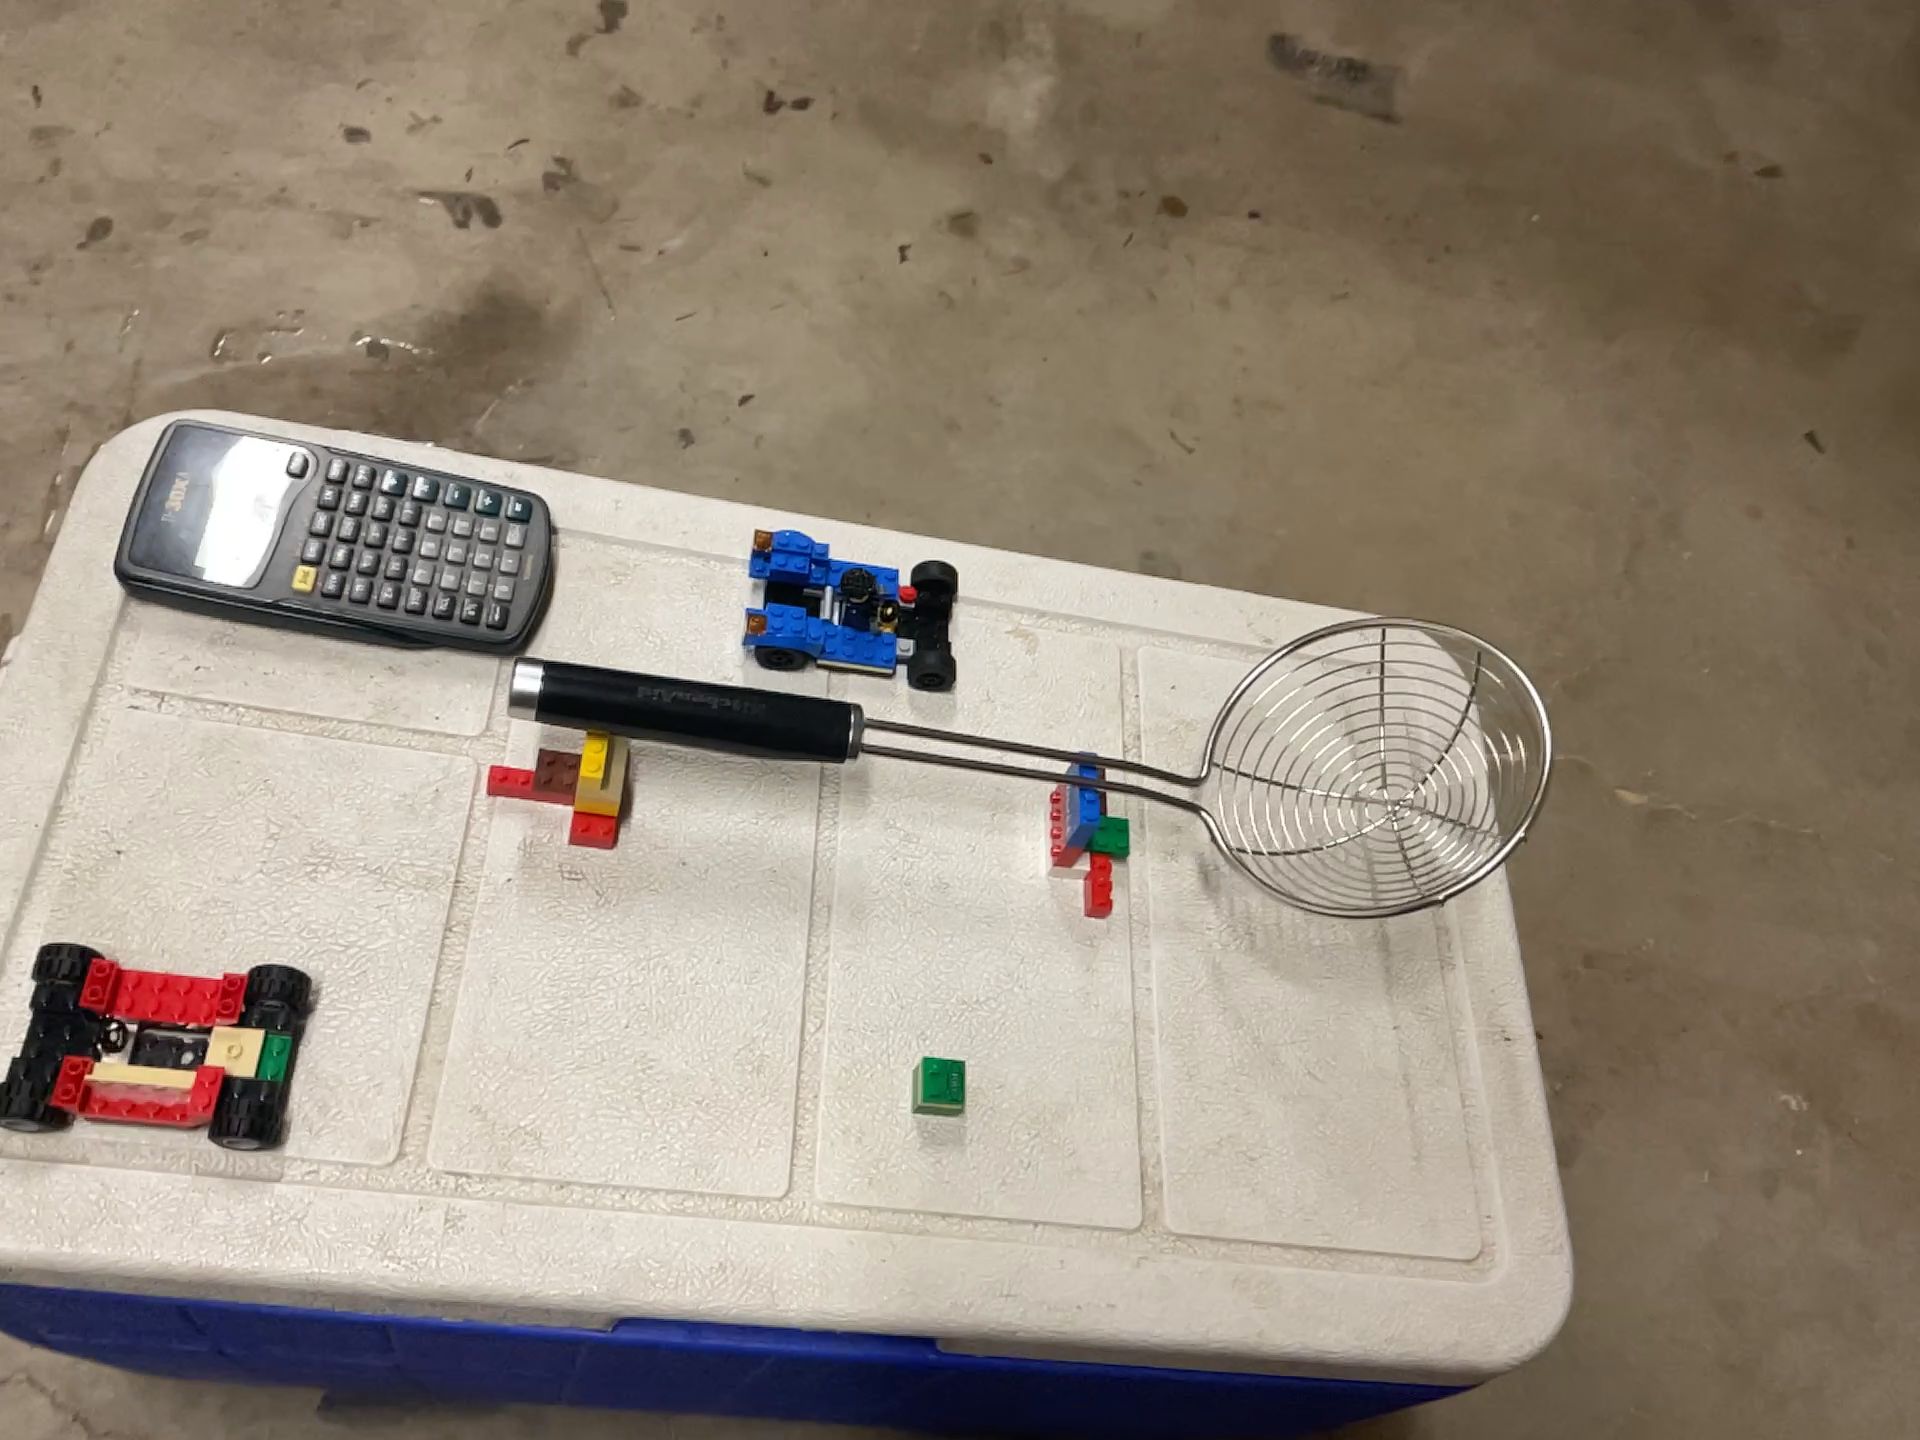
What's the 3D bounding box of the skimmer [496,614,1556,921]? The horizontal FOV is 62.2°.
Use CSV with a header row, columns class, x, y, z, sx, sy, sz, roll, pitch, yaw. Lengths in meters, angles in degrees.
class,x,y,z,sx,sy,sz,roll,pitch,yaw
skimmer,0.026,-0.002,0.561,0.363,0.089,0.128,8,56,-13
